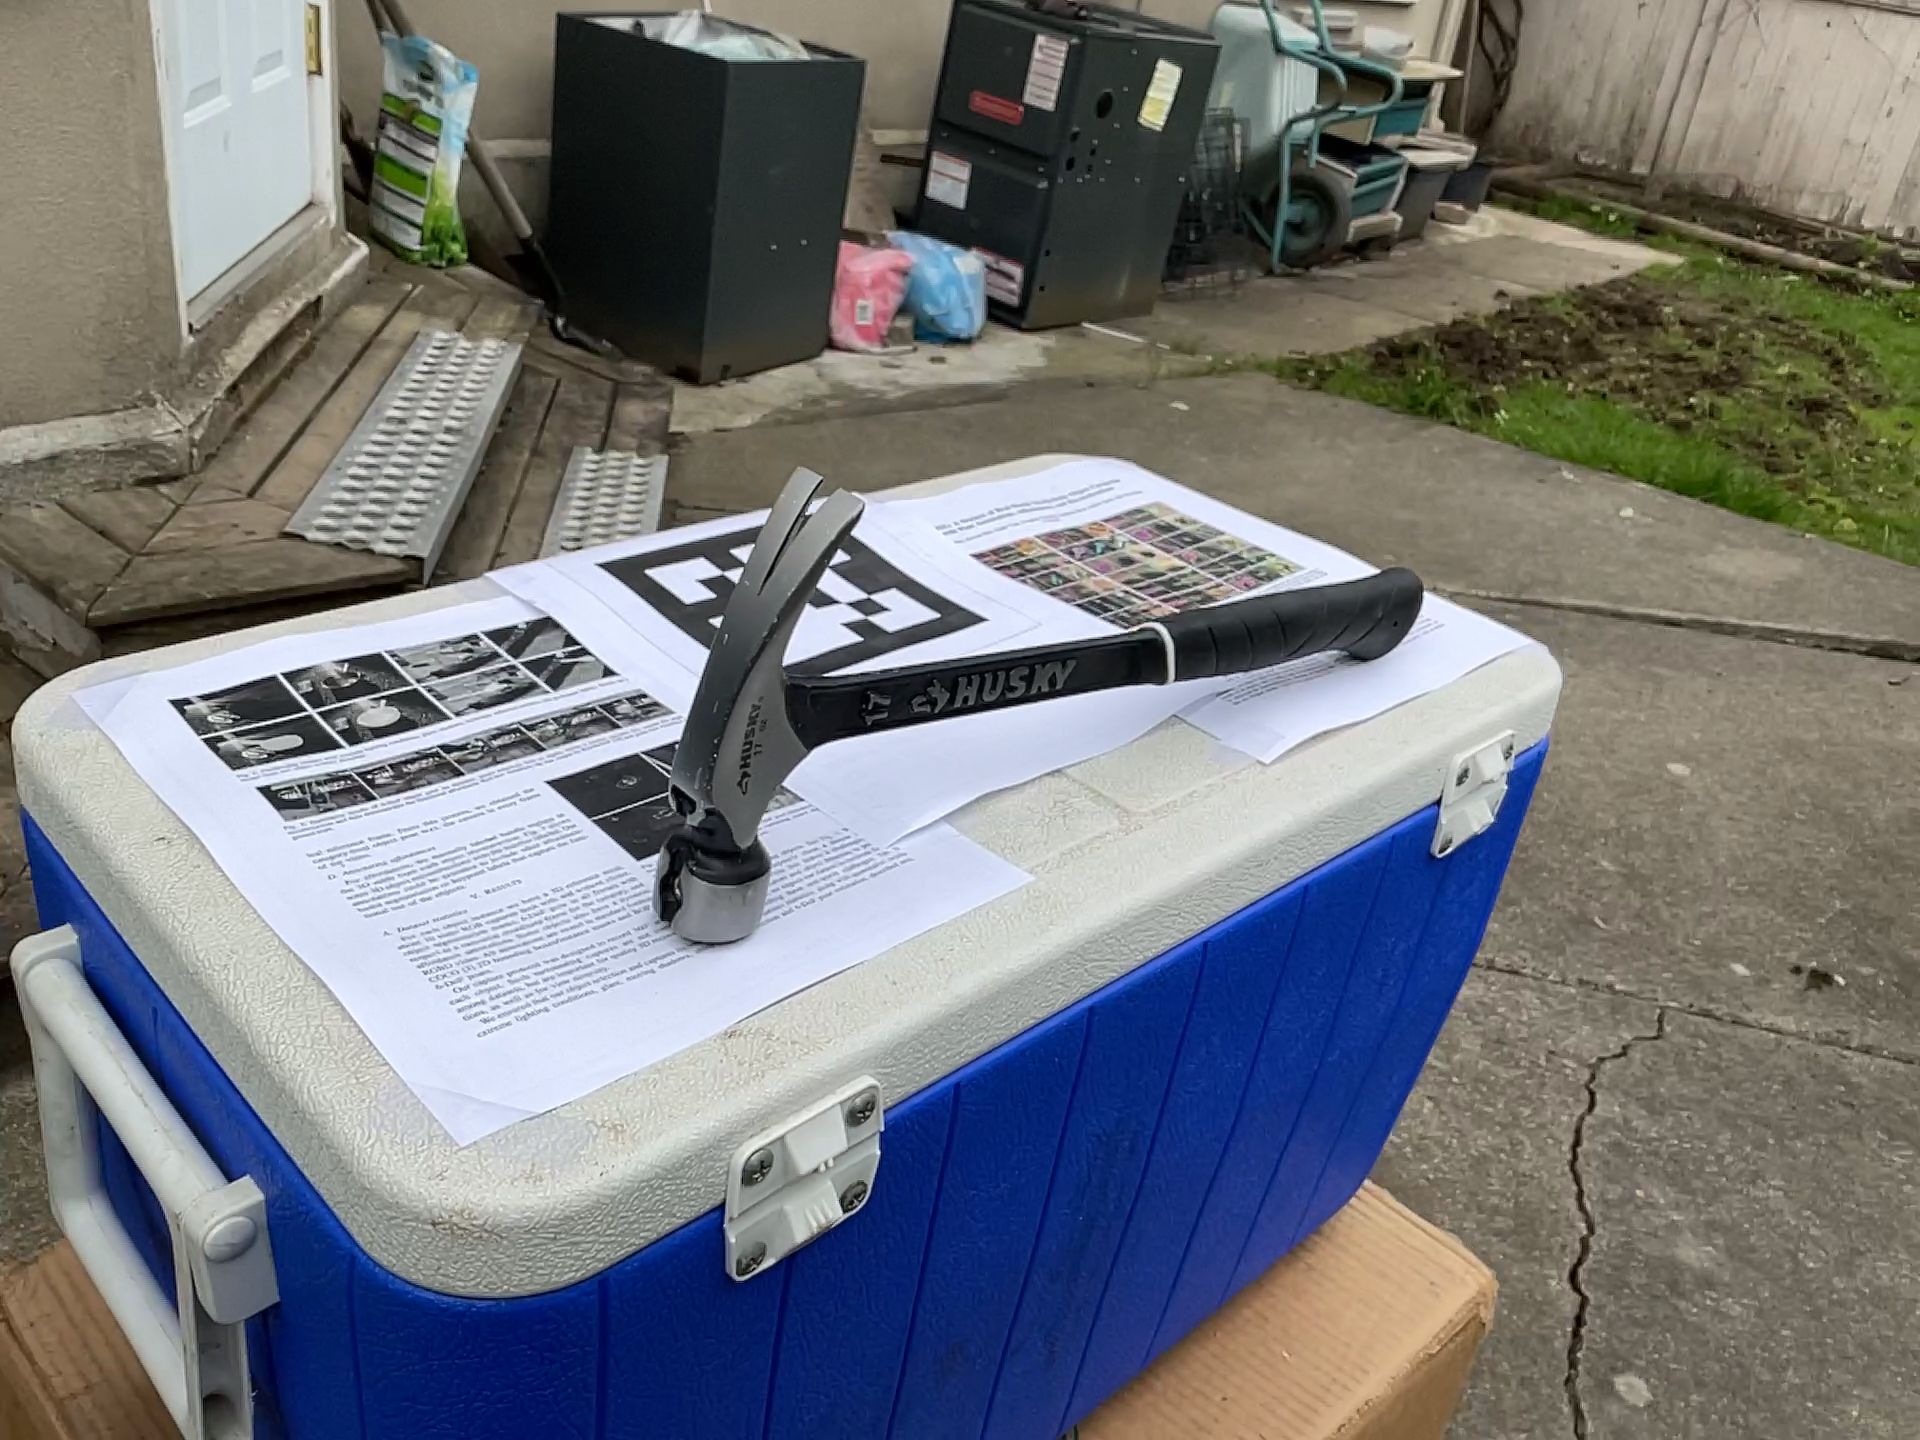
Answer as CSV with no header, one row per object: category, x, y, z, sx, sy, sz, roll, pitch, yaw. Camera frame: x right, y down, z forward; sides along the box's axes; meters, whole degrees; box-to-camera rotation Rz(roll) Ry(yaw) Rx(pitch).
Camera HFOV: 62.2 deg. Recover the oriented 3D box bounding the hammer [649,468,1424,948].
hammer,0.064,-0.028,0.612,0.408,0.149,0.036,-12,35,-44
